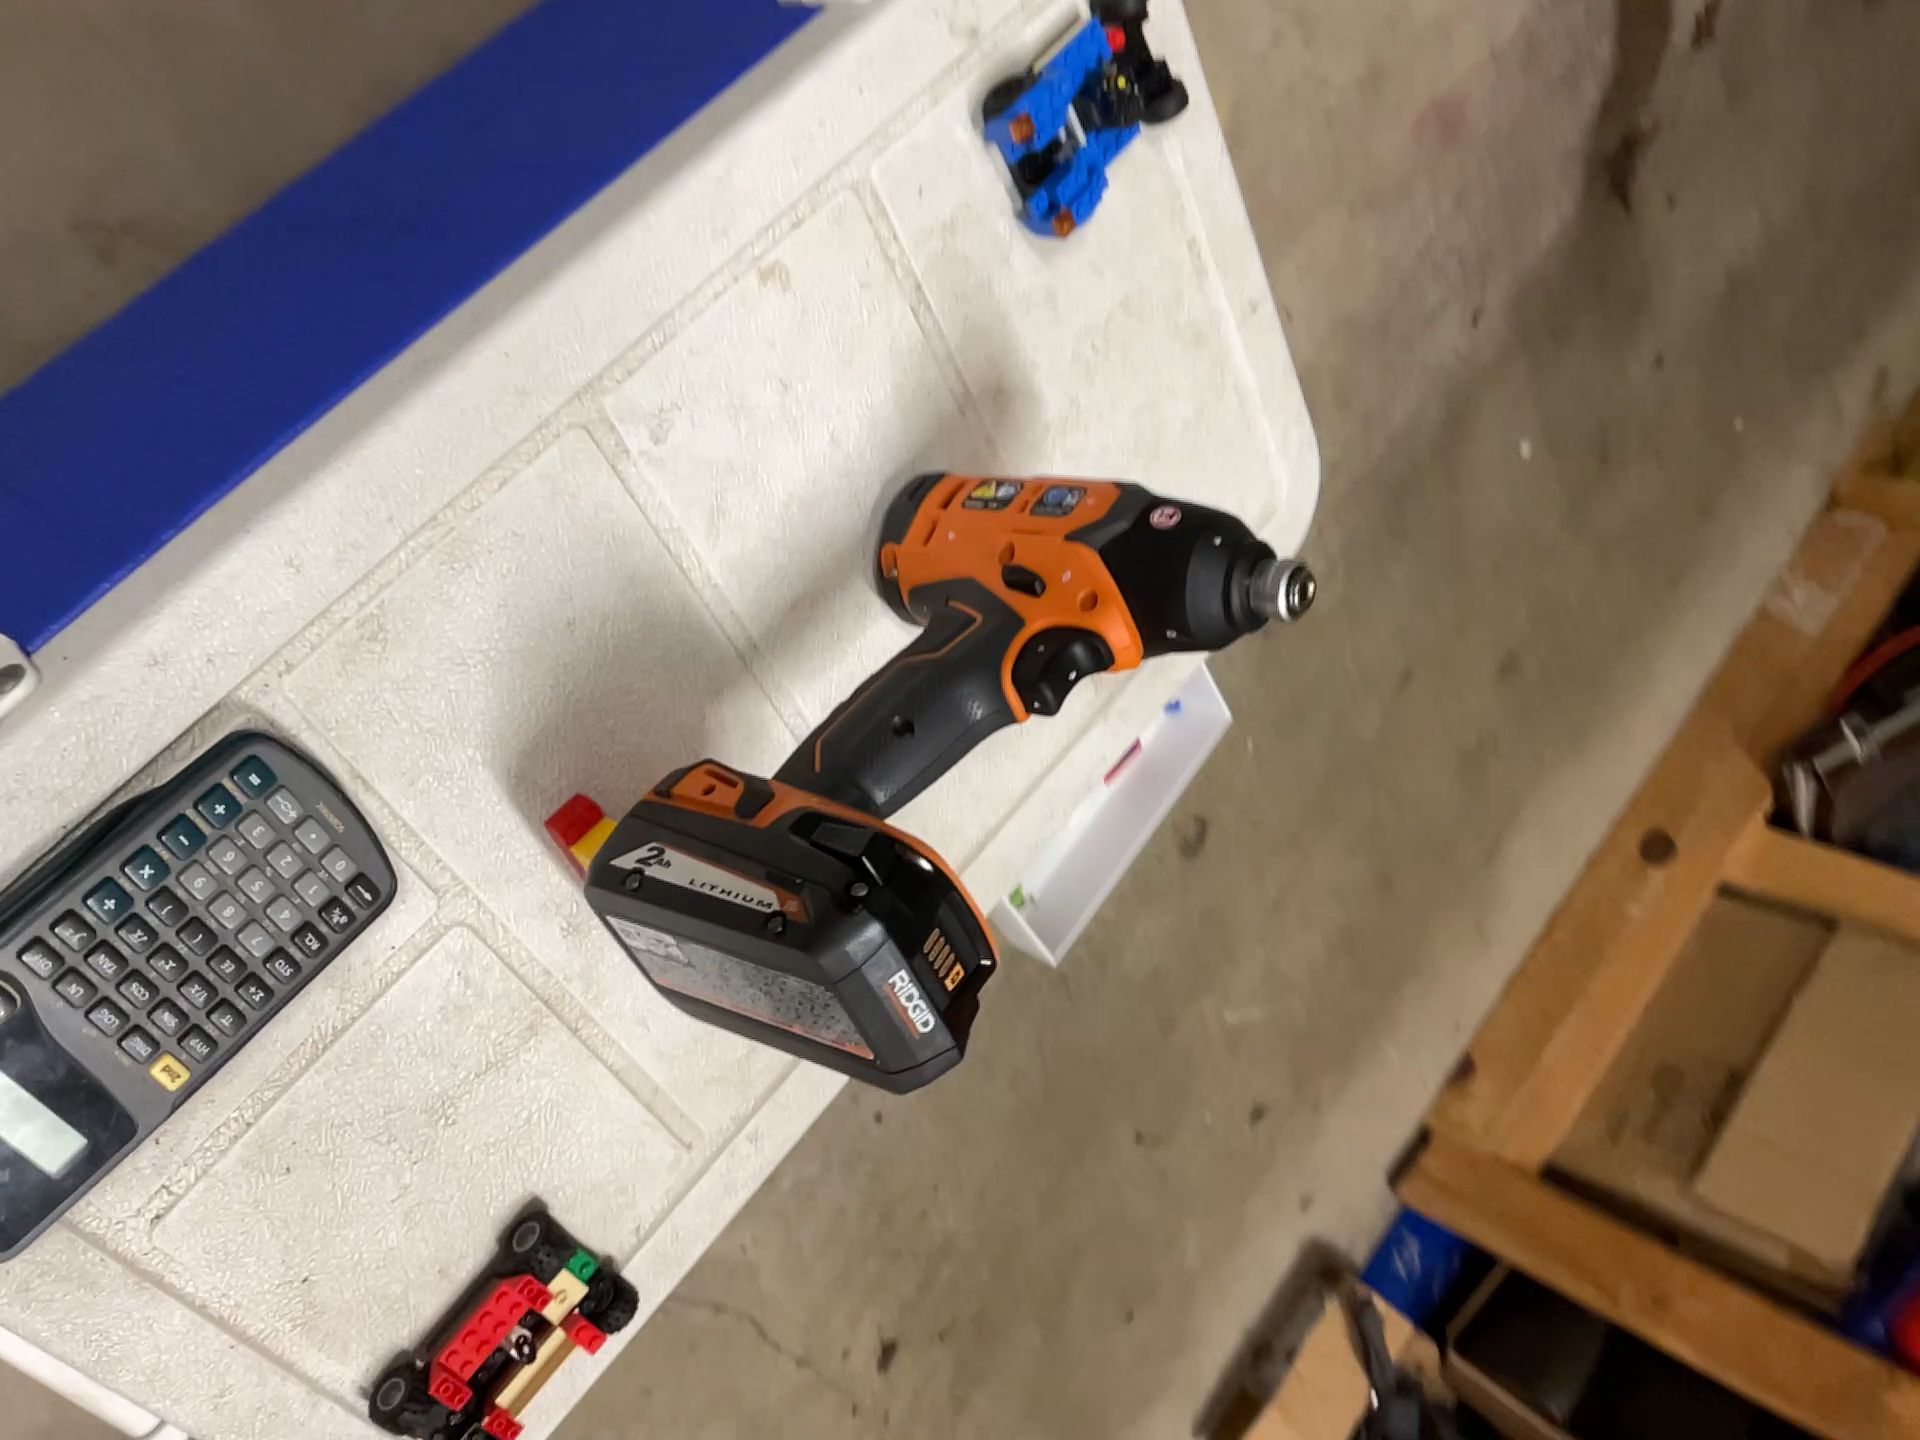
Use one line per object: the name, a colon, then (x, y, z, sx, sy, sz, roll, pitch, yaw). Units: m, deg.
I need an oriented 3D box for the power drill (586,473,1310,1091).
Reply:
power drill: (0.004, 0.003, 0.523, 0.227, 0.164, 0.084, -54, 135, -31)
